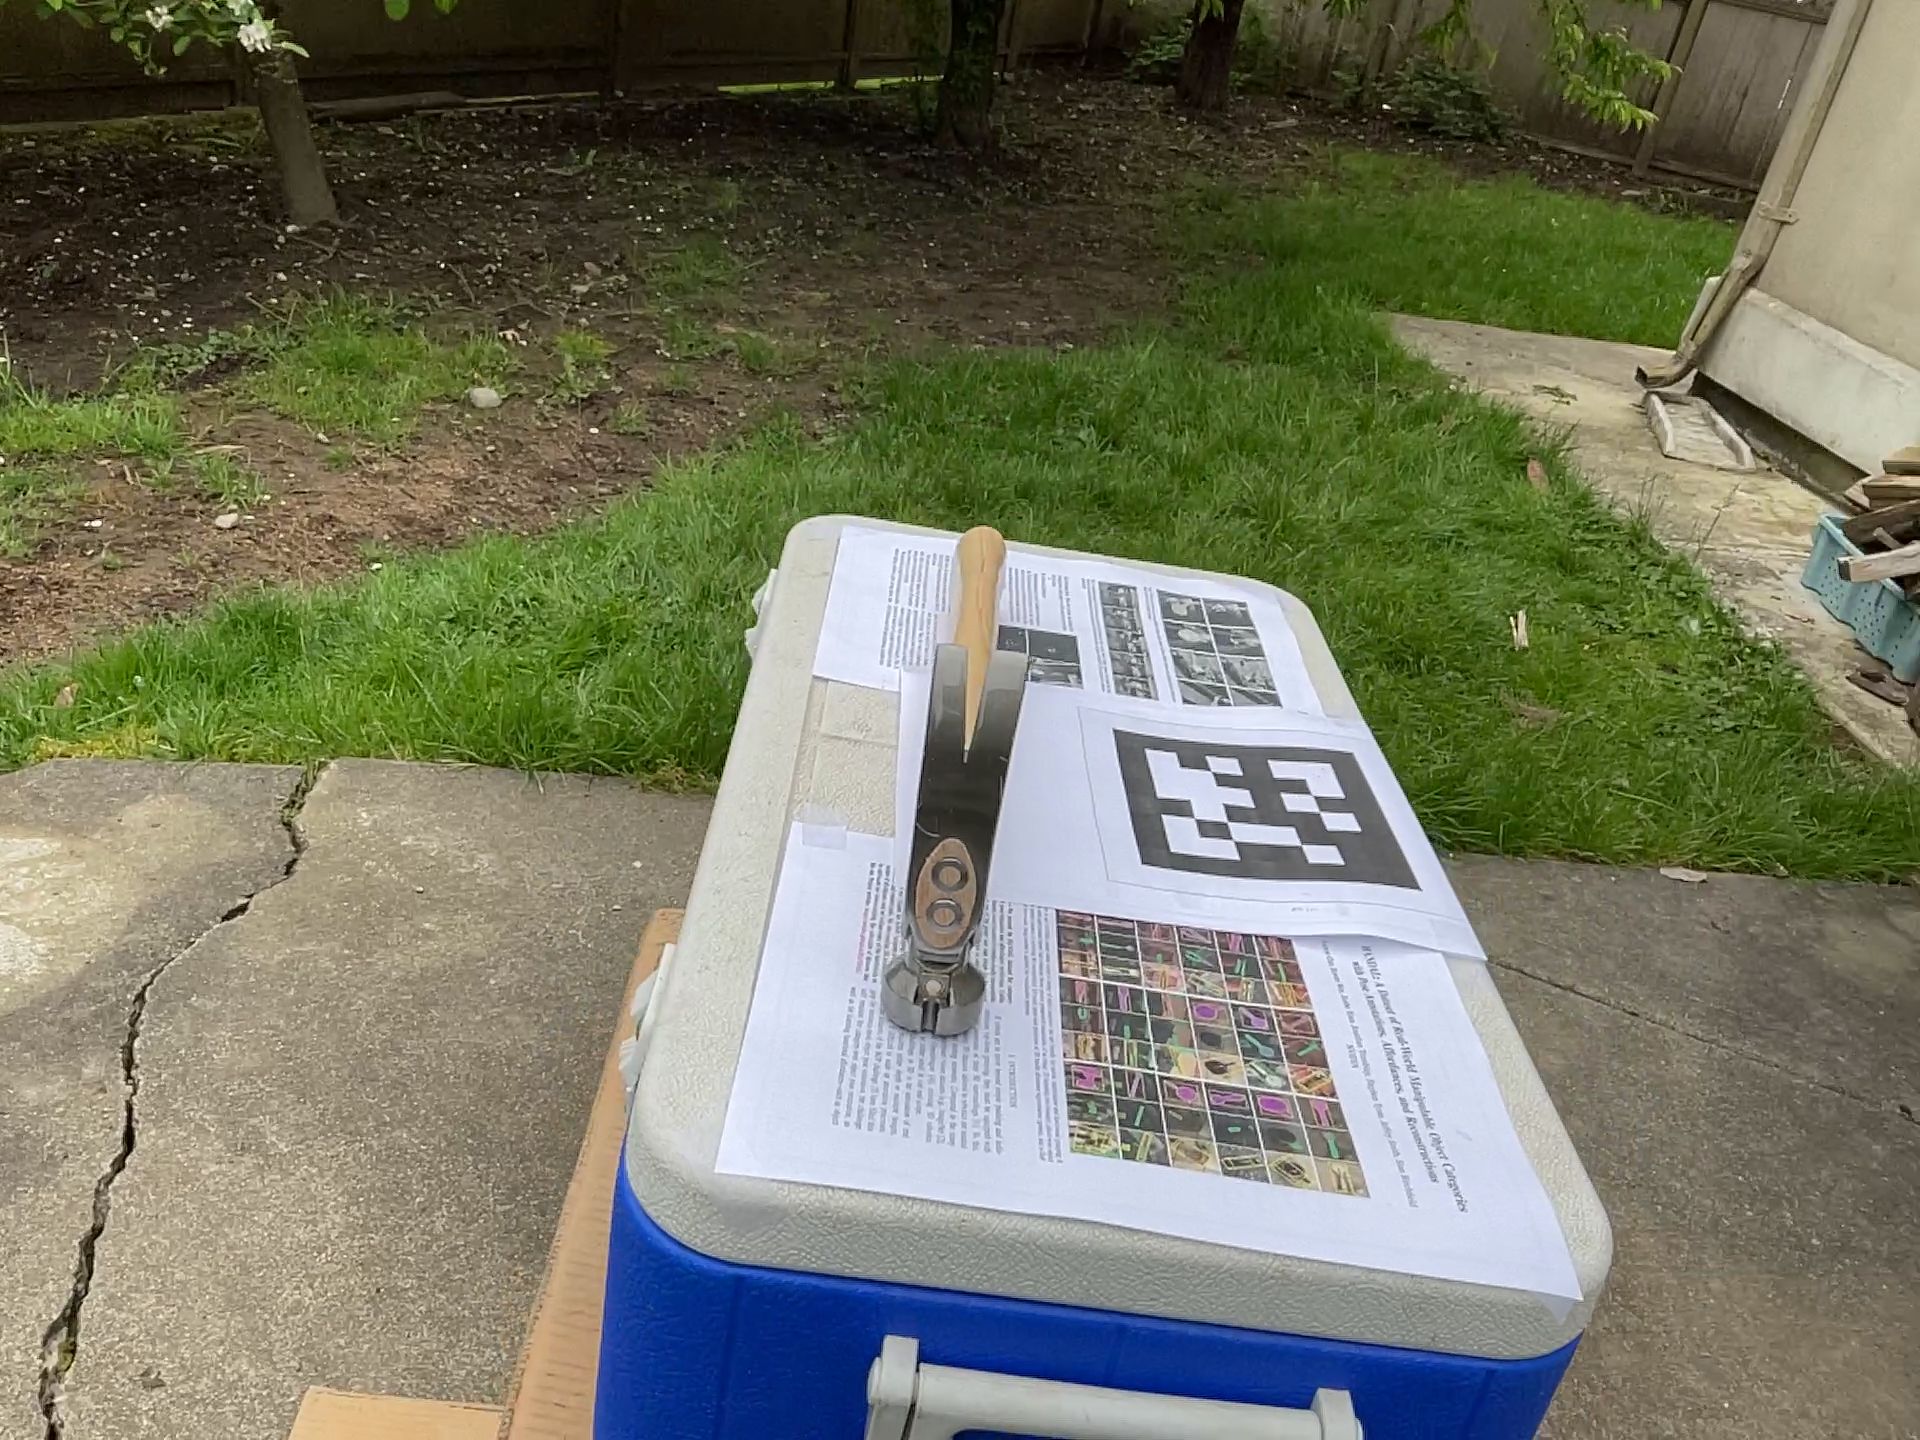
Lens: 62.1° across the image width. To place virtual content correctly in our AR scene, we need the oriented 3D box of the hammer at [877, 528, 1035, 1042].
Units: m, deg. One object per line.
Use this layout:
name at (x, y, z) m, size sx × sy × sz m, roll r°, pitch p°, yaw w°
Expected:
hammer at (0.005, -0.028, 0.732) m, size 0.038 × 0.146 × 0.411 m, roll 8°, pitch 22°, yaw -1°
